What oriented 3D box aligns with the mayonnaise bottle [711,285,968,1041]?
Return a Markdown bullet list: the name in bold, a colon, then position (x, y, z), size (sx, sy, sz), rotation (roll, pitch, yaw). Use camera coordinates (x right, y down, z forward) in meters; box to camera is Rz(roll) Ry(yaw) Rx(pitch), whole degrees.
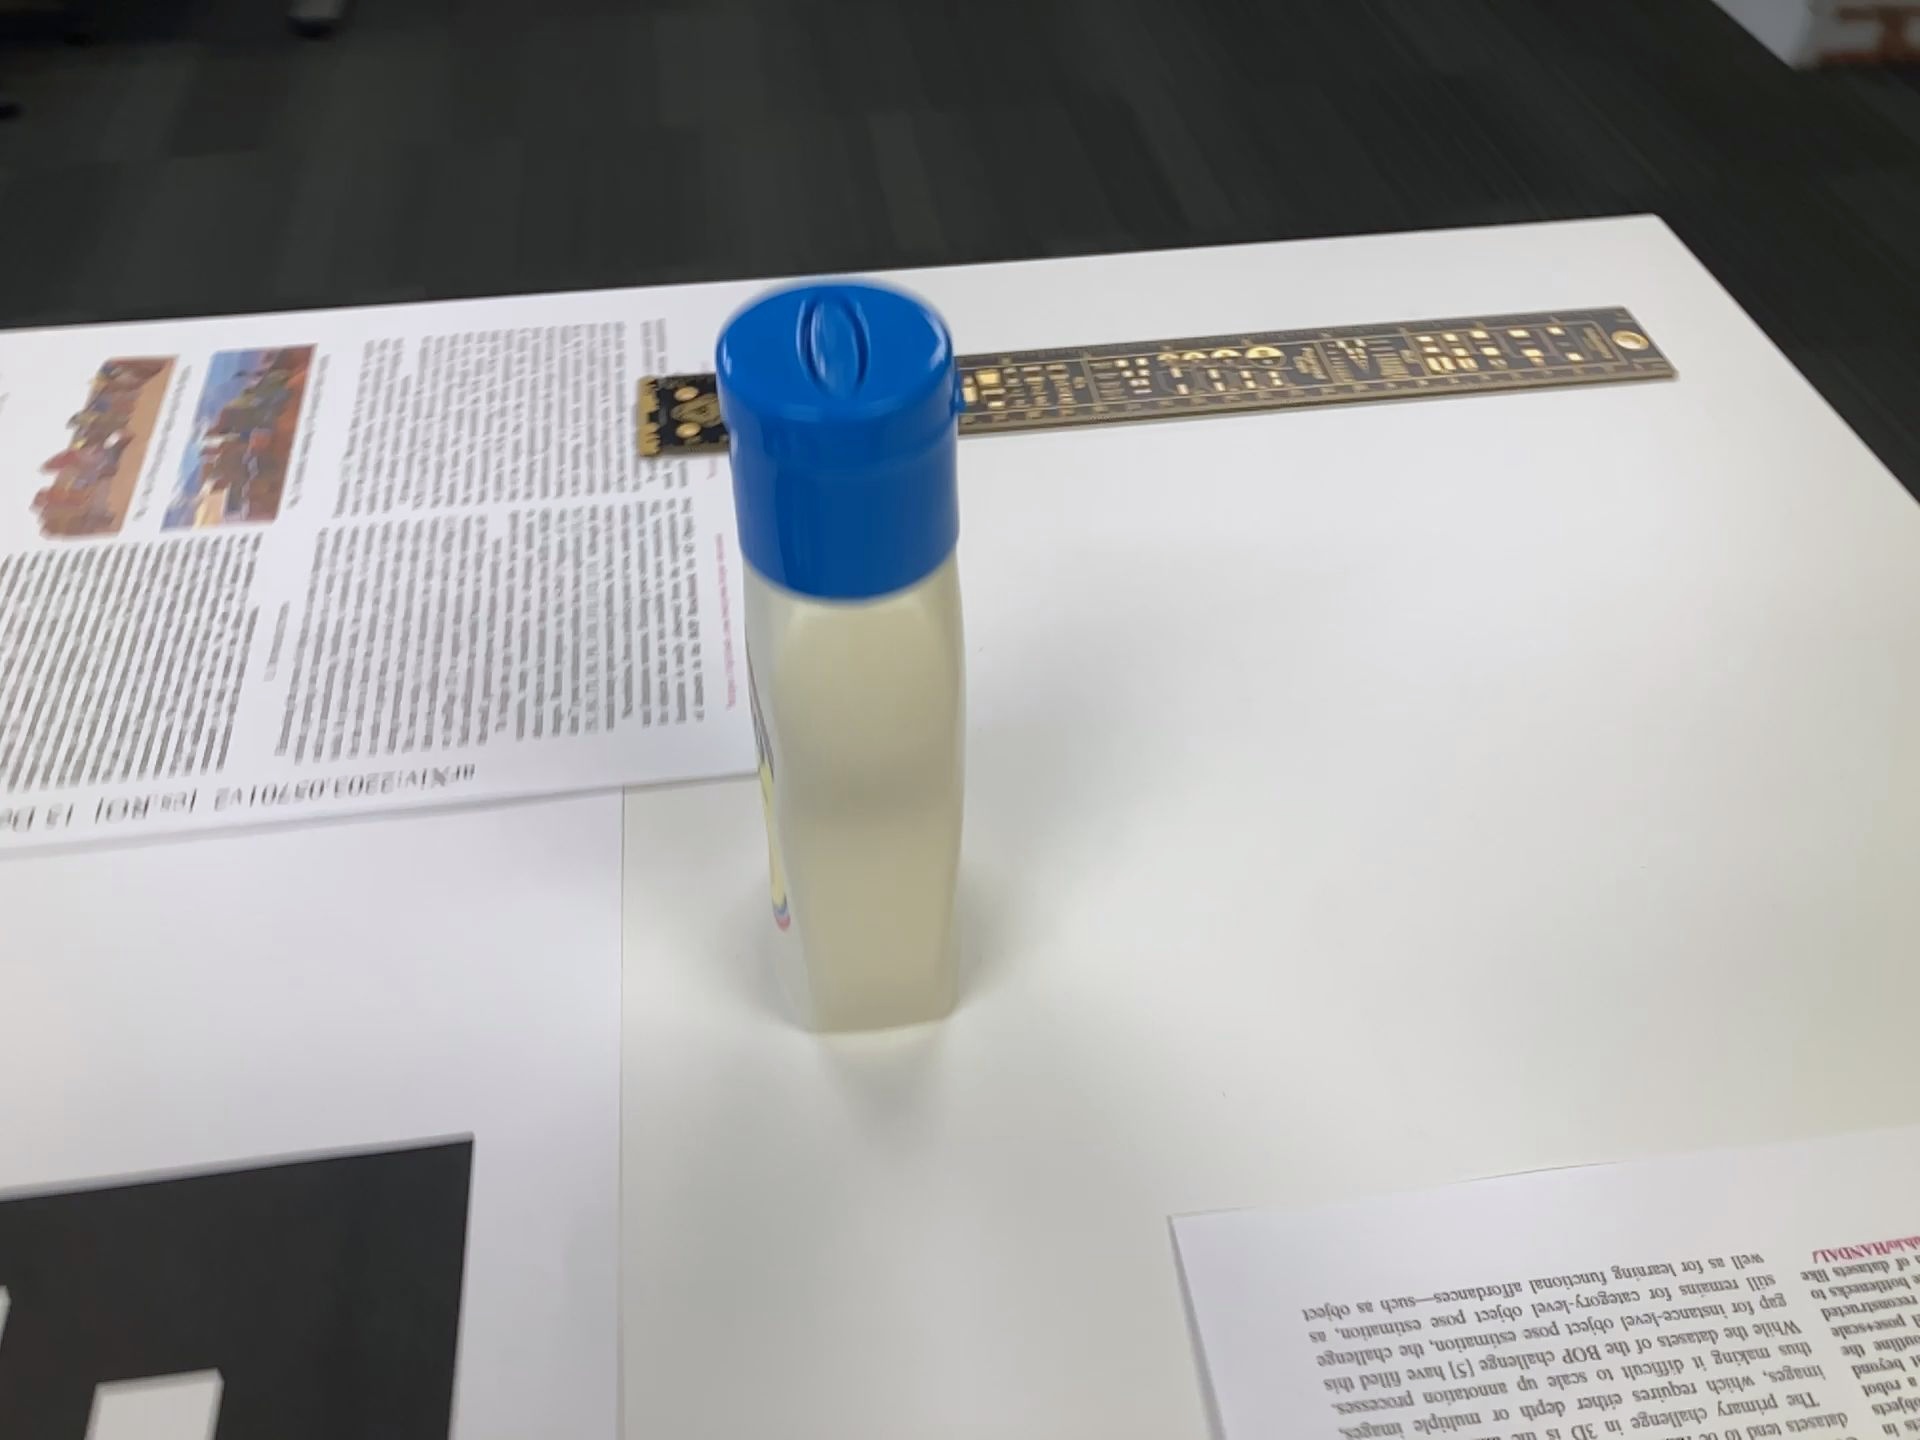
- **mayonnaise bottle**: position (-0.020, -0.005, 0.289), size (0.041, 0.148, 0.065), rotation (-6, 47, -6)
